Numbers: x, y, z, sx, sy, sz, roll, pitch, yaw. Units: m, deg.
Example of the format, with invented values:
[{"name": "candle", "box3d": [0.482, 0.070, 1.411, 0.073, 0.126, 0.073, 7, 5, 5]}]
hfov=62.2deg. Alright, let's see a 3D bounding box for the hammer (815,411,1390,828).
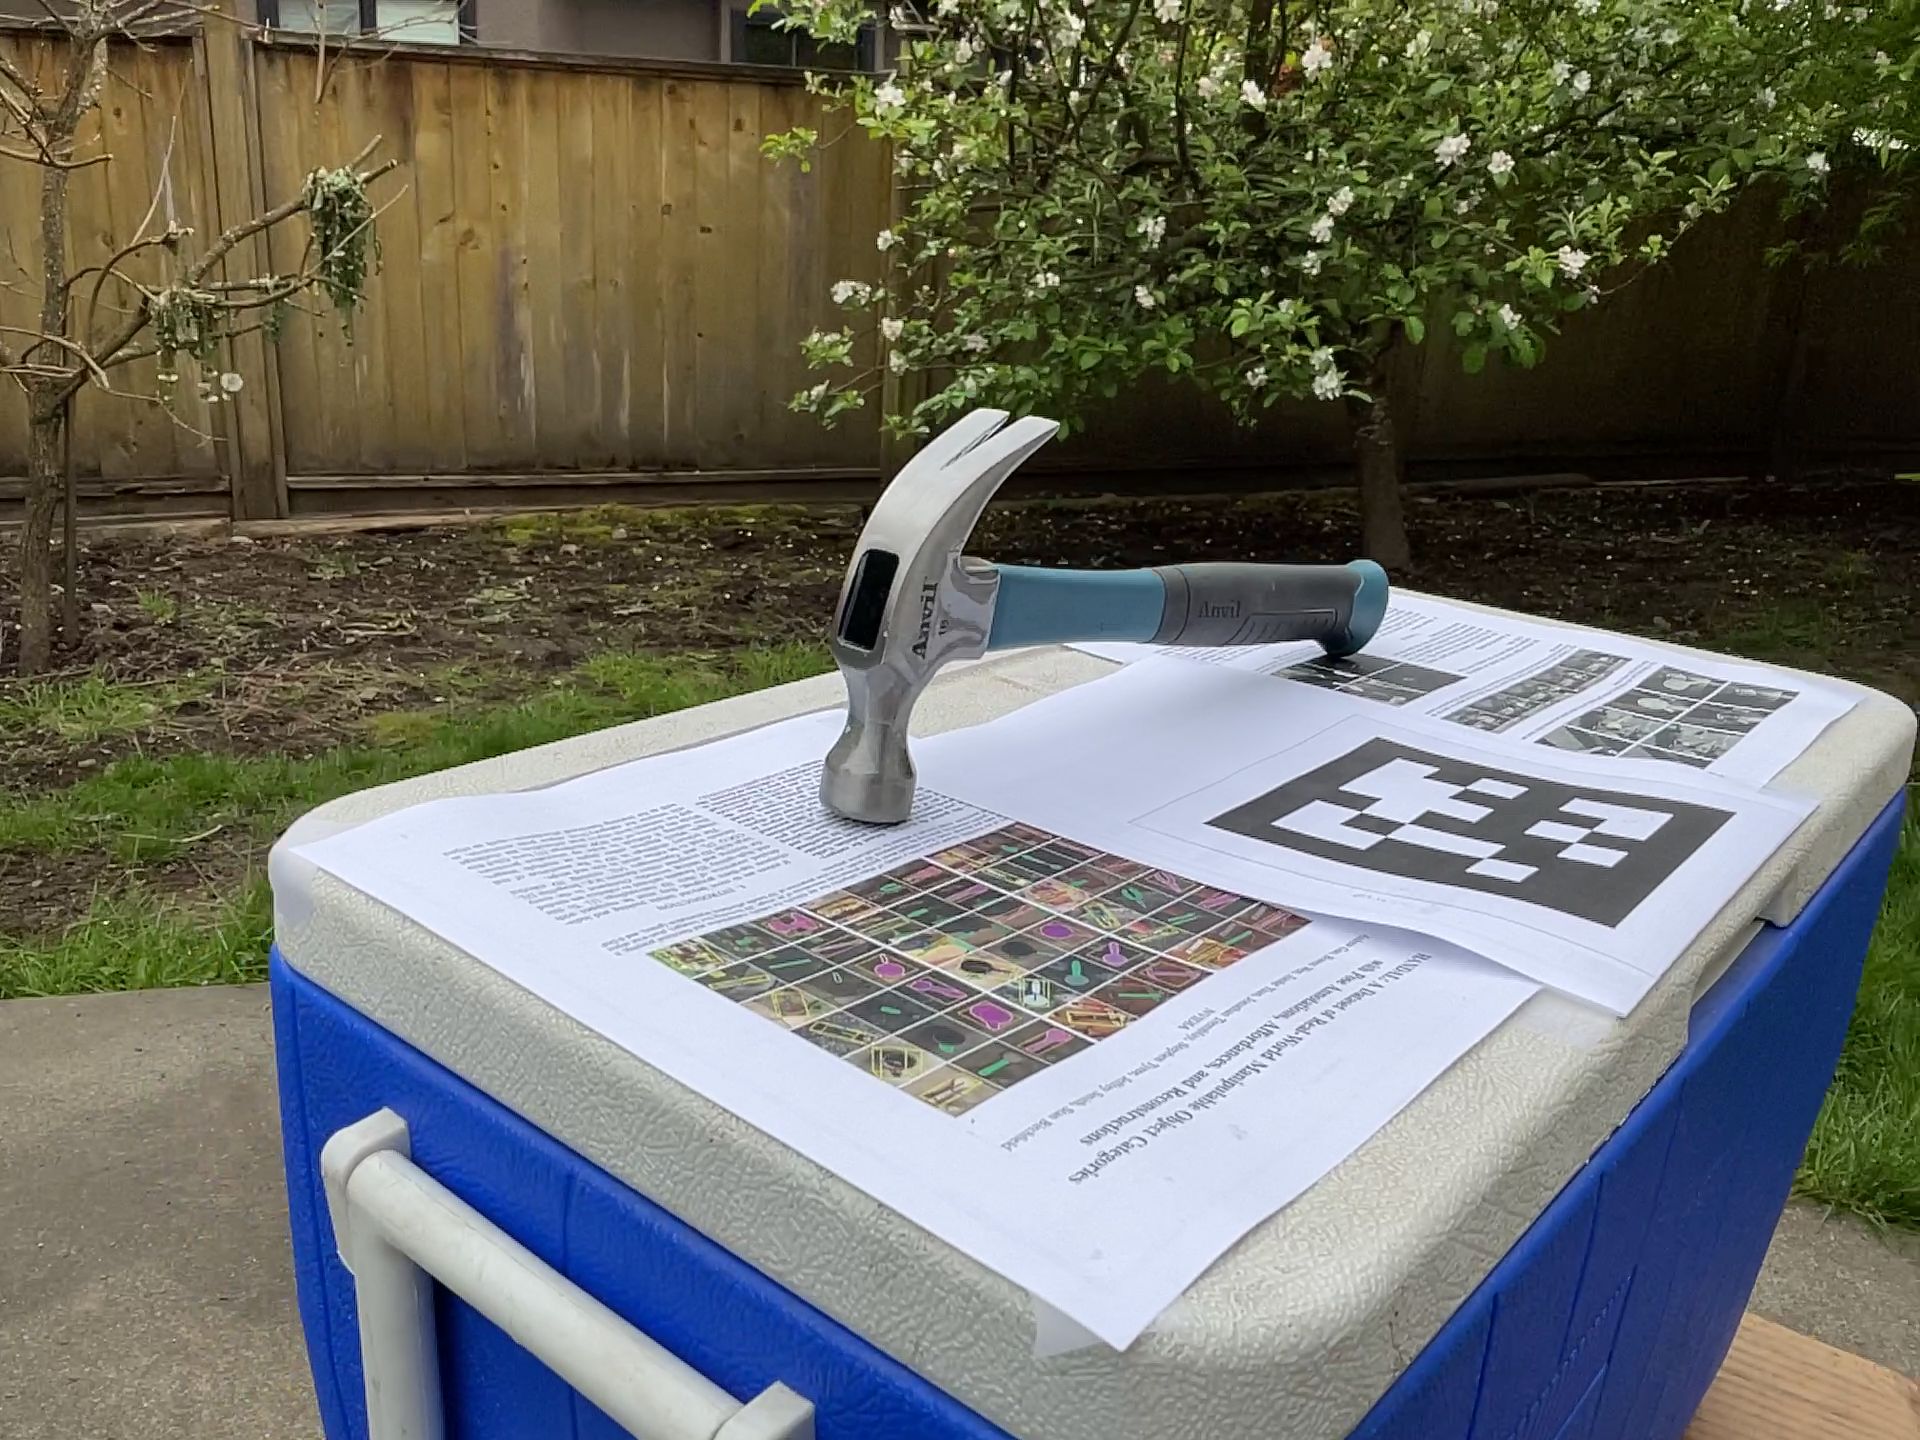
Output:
[{"name": "hammer", "box3d": [0.076, -0.040, 0.596, 0.033, 0.128, 0.331, 20, 16, 37]}]
